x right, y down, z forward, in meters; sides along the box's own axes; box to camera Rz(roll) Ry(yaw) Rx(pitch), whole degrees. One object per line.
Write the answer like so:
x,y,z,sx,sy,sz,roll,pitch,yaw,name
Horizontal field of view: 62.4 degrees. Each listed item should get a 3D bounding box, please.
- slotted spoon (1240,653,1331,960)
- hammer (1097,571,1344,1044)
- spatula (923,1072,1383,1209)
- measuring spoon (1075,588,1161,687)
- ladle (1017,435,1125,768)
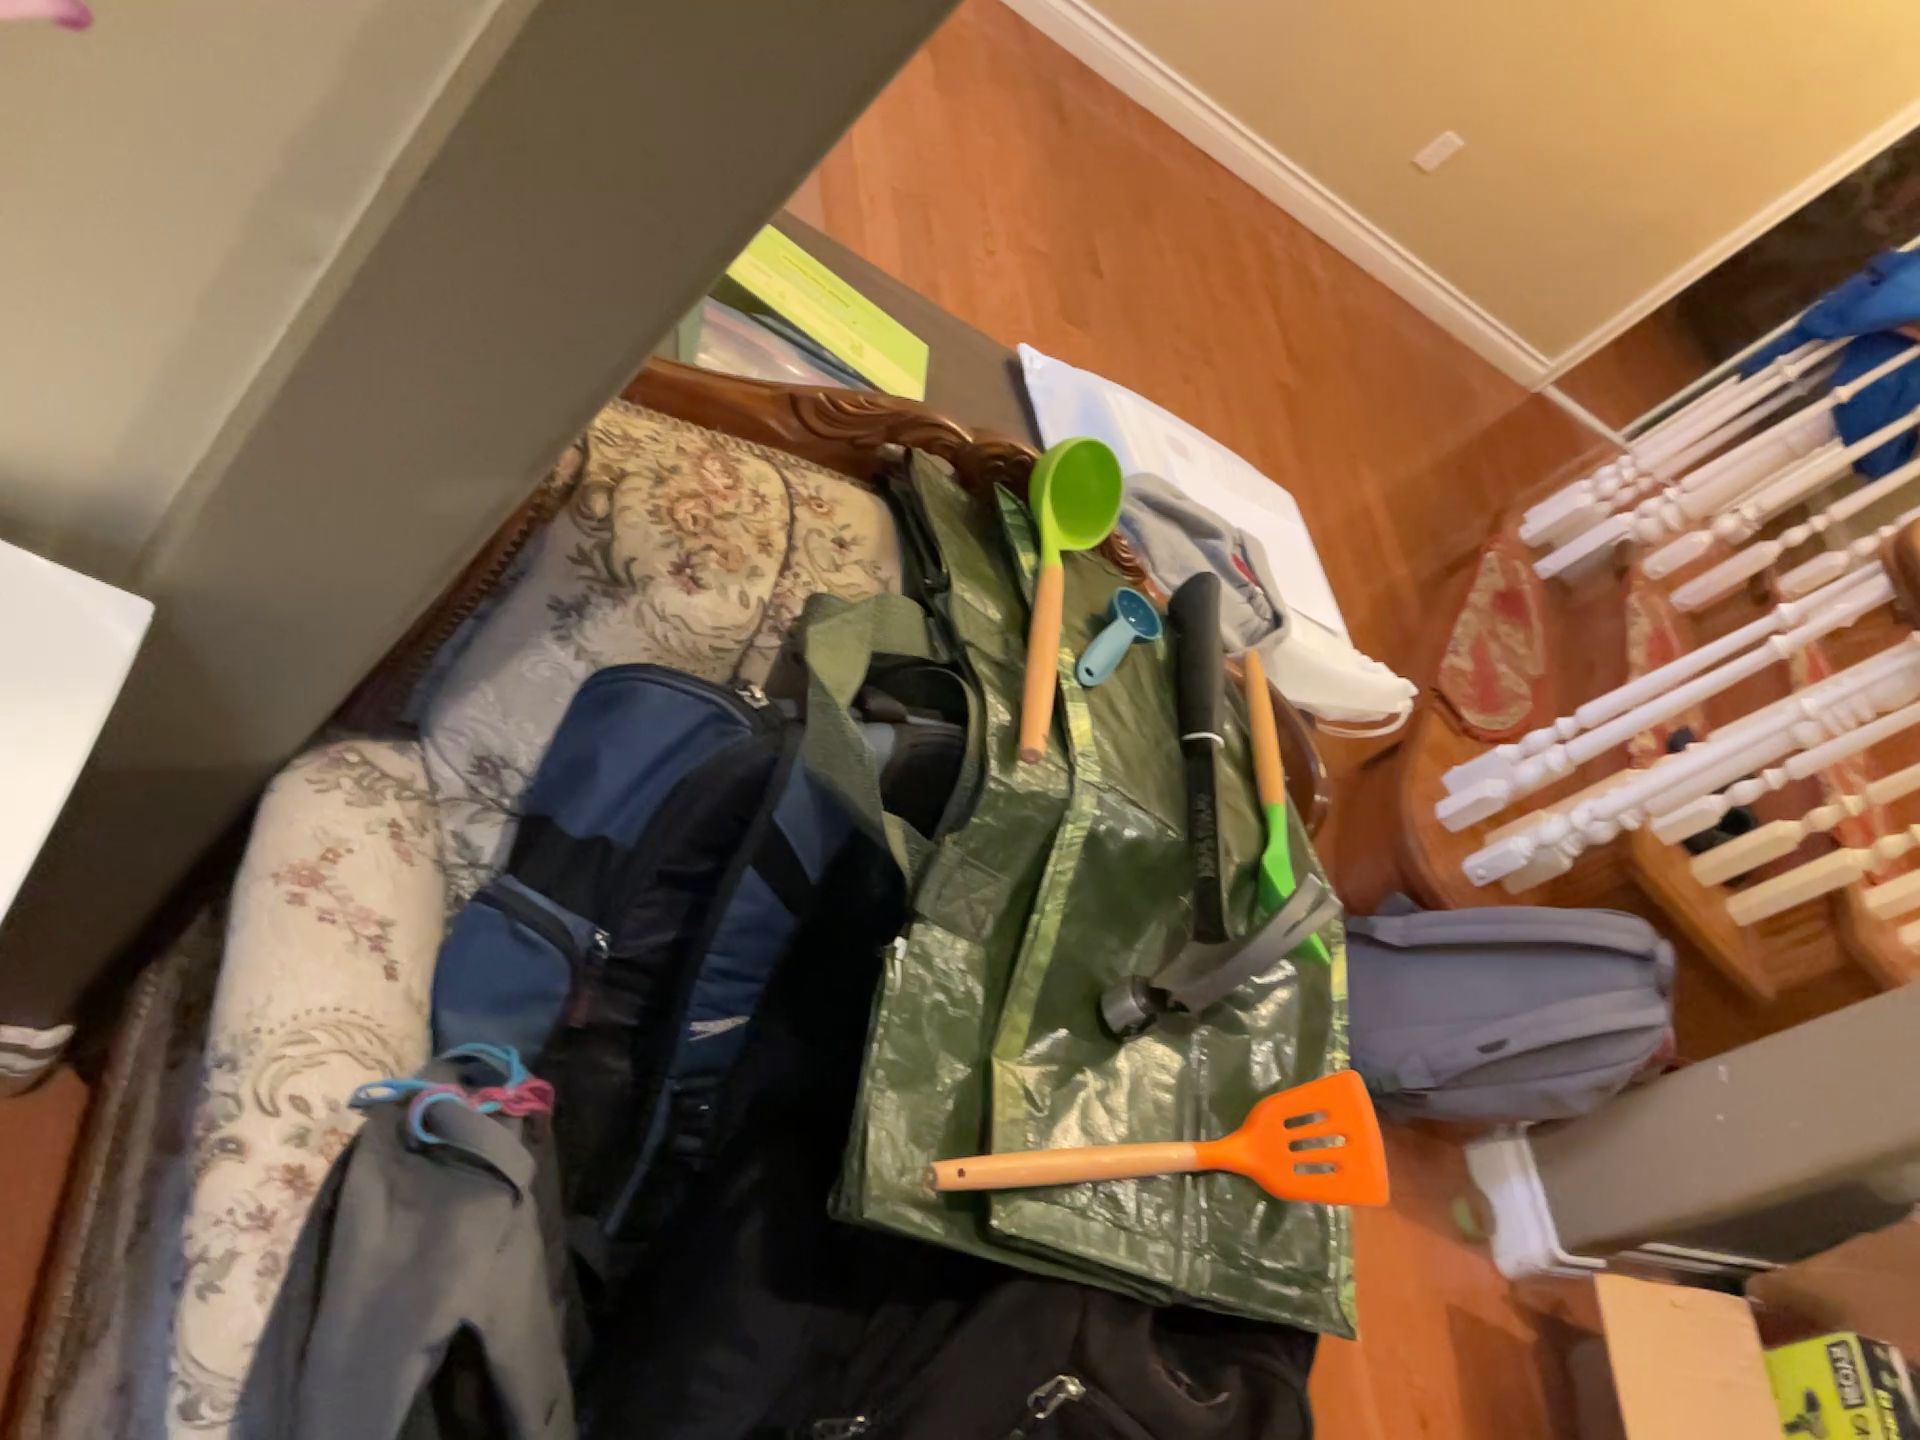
0.214,0.048,1.096,0.070,0.031,0.314,51,25,-29,slotted spoon
0.162,0.024,1.037,0.036,0.149,0.409,45,30,-25,hammer
0.114,0.239,0.871,0.322,0.041,0.081,9,63,-39,spatula
0.094,-0.047,1.021,0.042,0.021,0.128,48,36,-3,measuring spoon
0.065,-0.079,0.983,0.320,0.062,0.078,-80,149,-52,ladle
